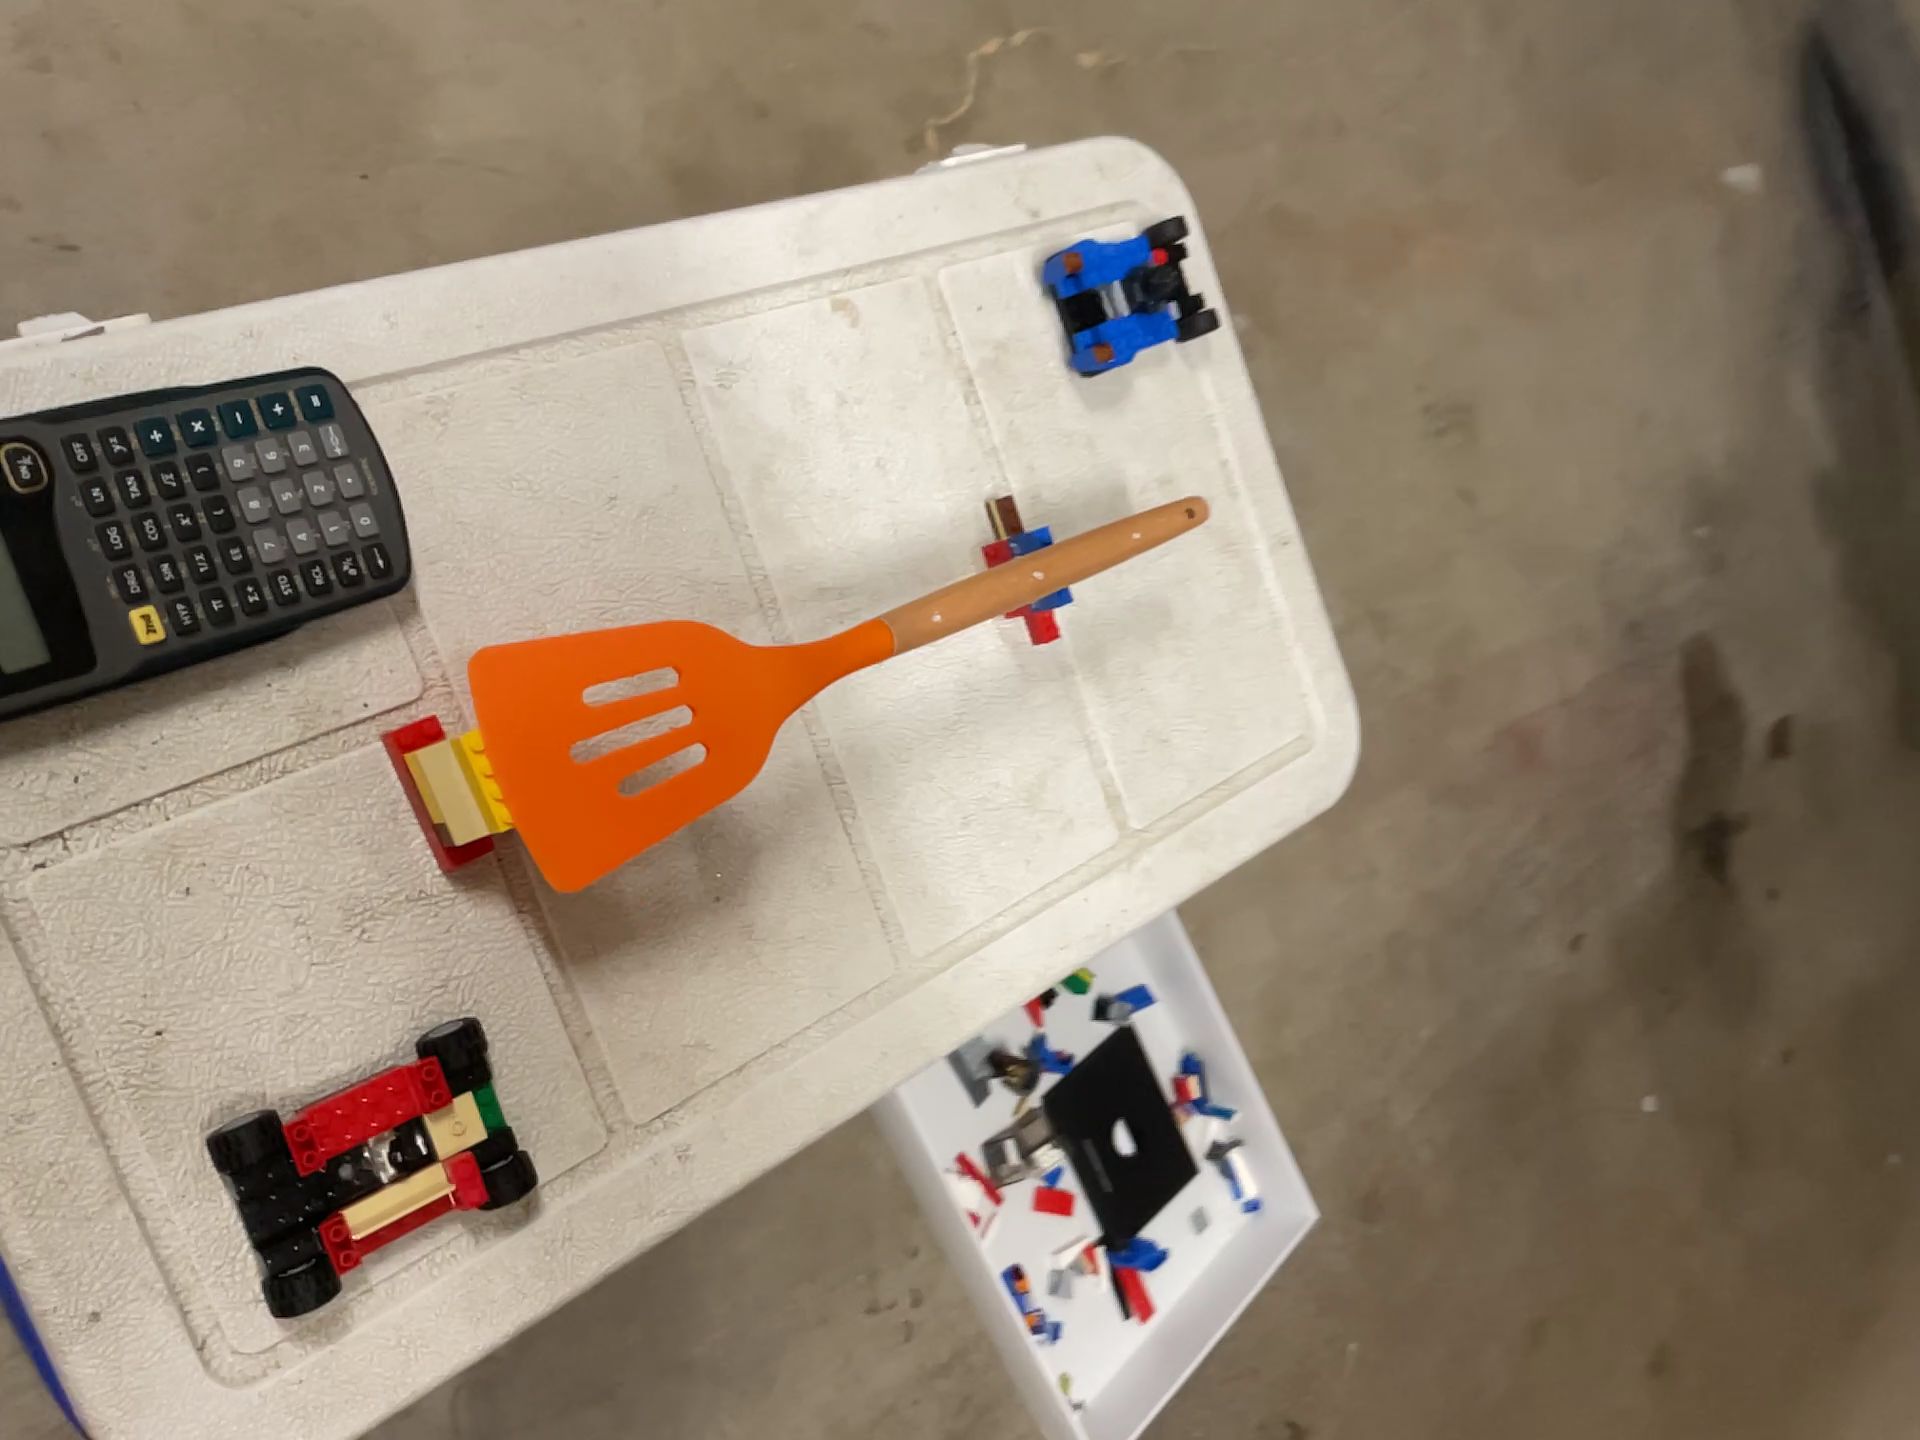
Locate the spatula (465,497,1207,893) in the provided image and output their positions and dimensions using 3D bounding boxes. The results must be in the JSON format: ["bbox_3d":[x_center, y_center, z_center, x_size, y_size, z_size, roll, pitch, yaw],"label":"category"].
[{"bbox_3d":[-0.018,-0.036,0.579,0.323,0.041,0.081,-25,98,-40],"label":"spatula"}]
